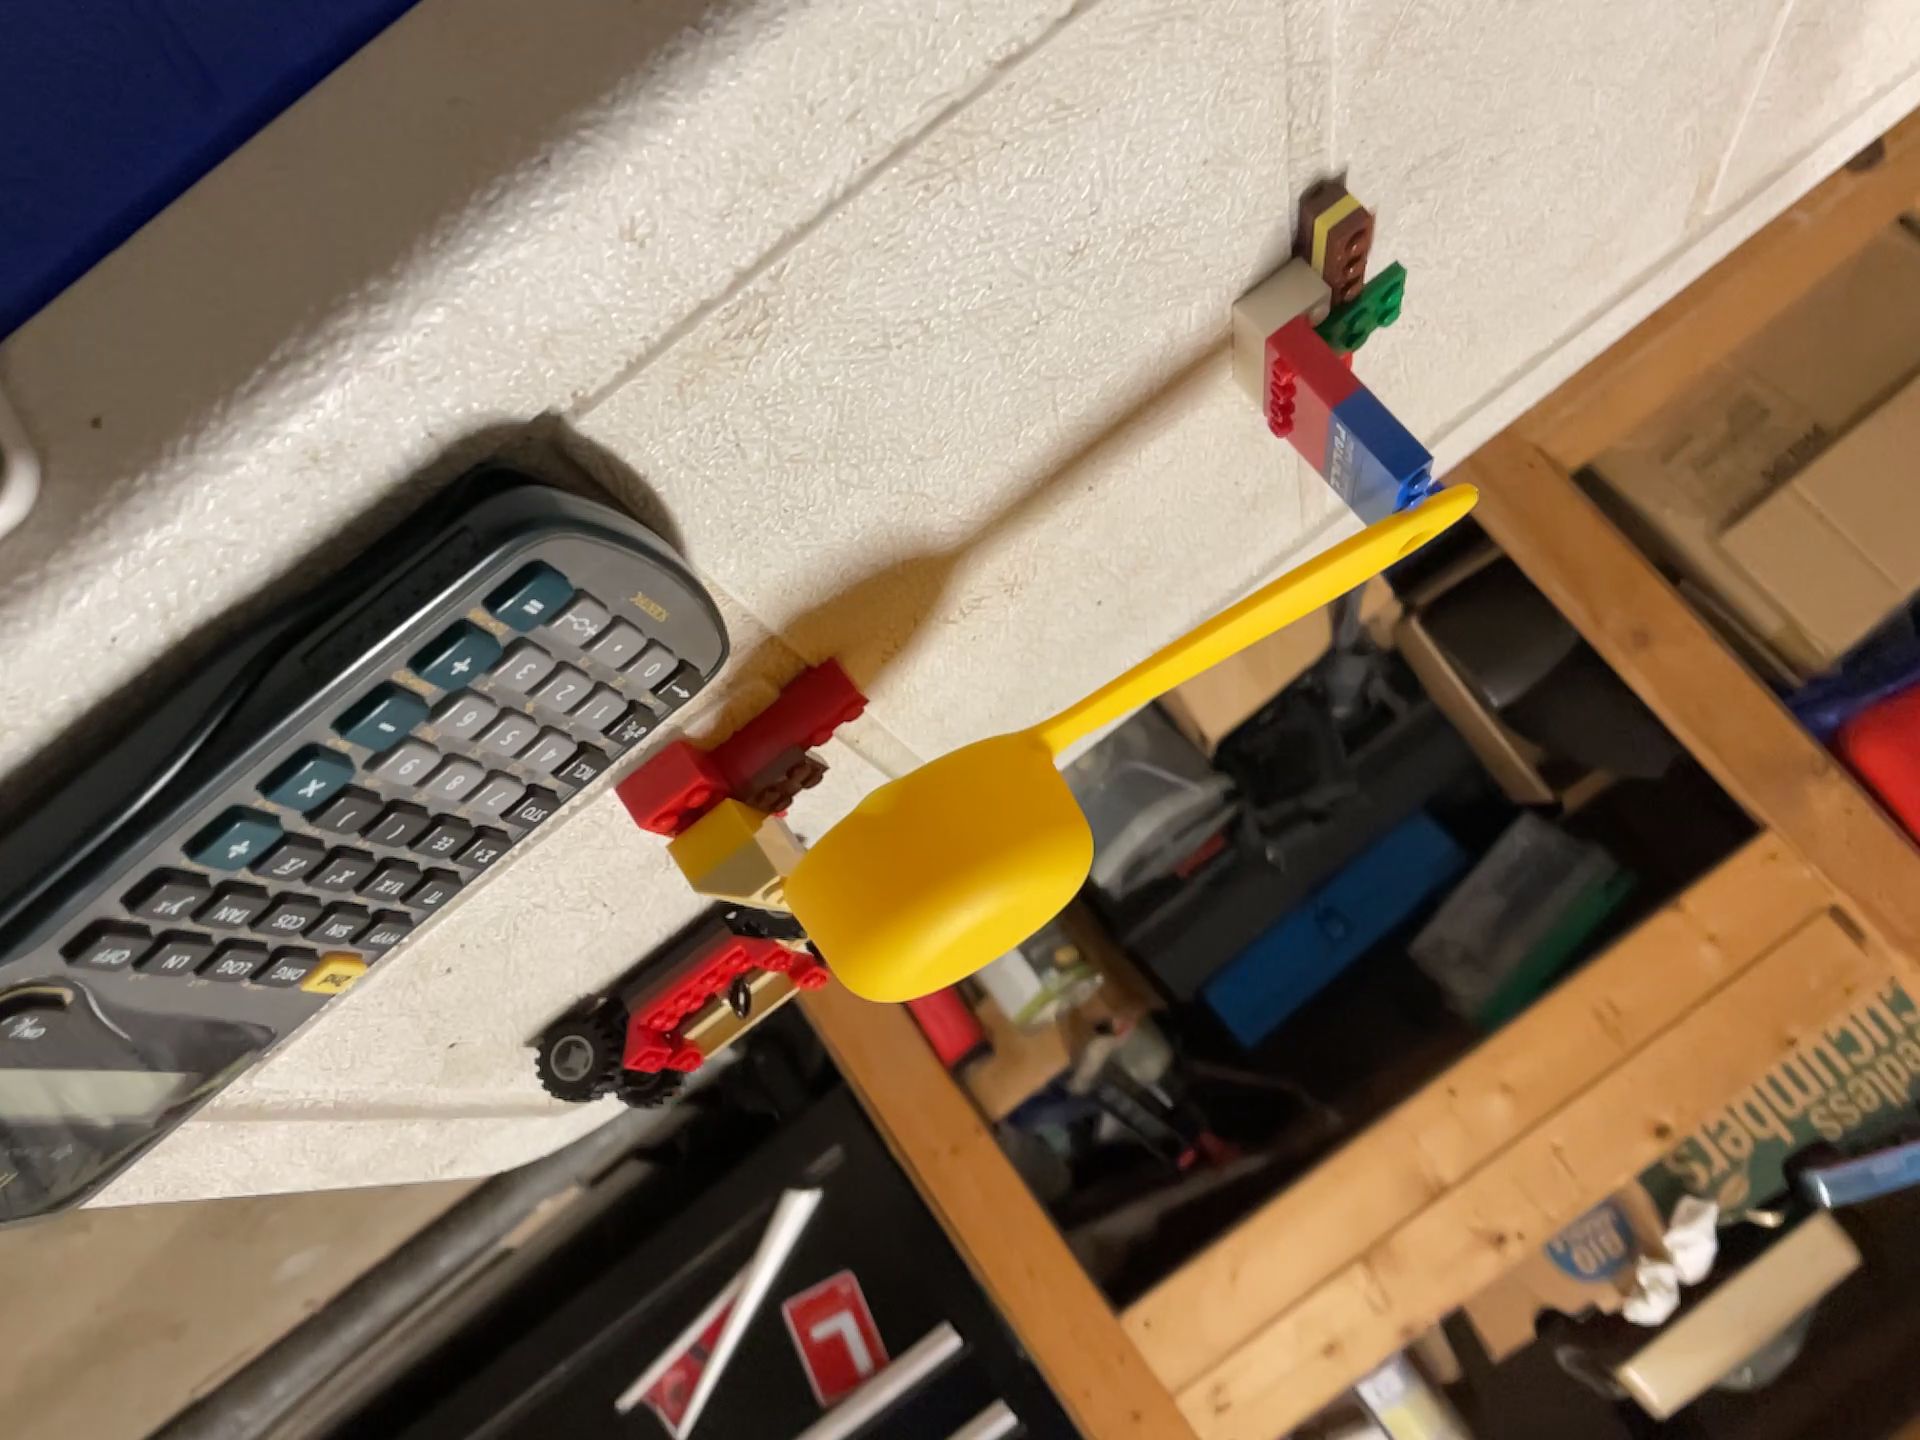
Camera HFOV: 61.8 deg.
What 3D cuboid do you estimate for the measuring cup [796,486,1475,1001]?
[{"bbox_3d":[0.040,0.006,0.314,0.156,0.029,0.062,-32,162,2],"label":"measuring cup"}]
